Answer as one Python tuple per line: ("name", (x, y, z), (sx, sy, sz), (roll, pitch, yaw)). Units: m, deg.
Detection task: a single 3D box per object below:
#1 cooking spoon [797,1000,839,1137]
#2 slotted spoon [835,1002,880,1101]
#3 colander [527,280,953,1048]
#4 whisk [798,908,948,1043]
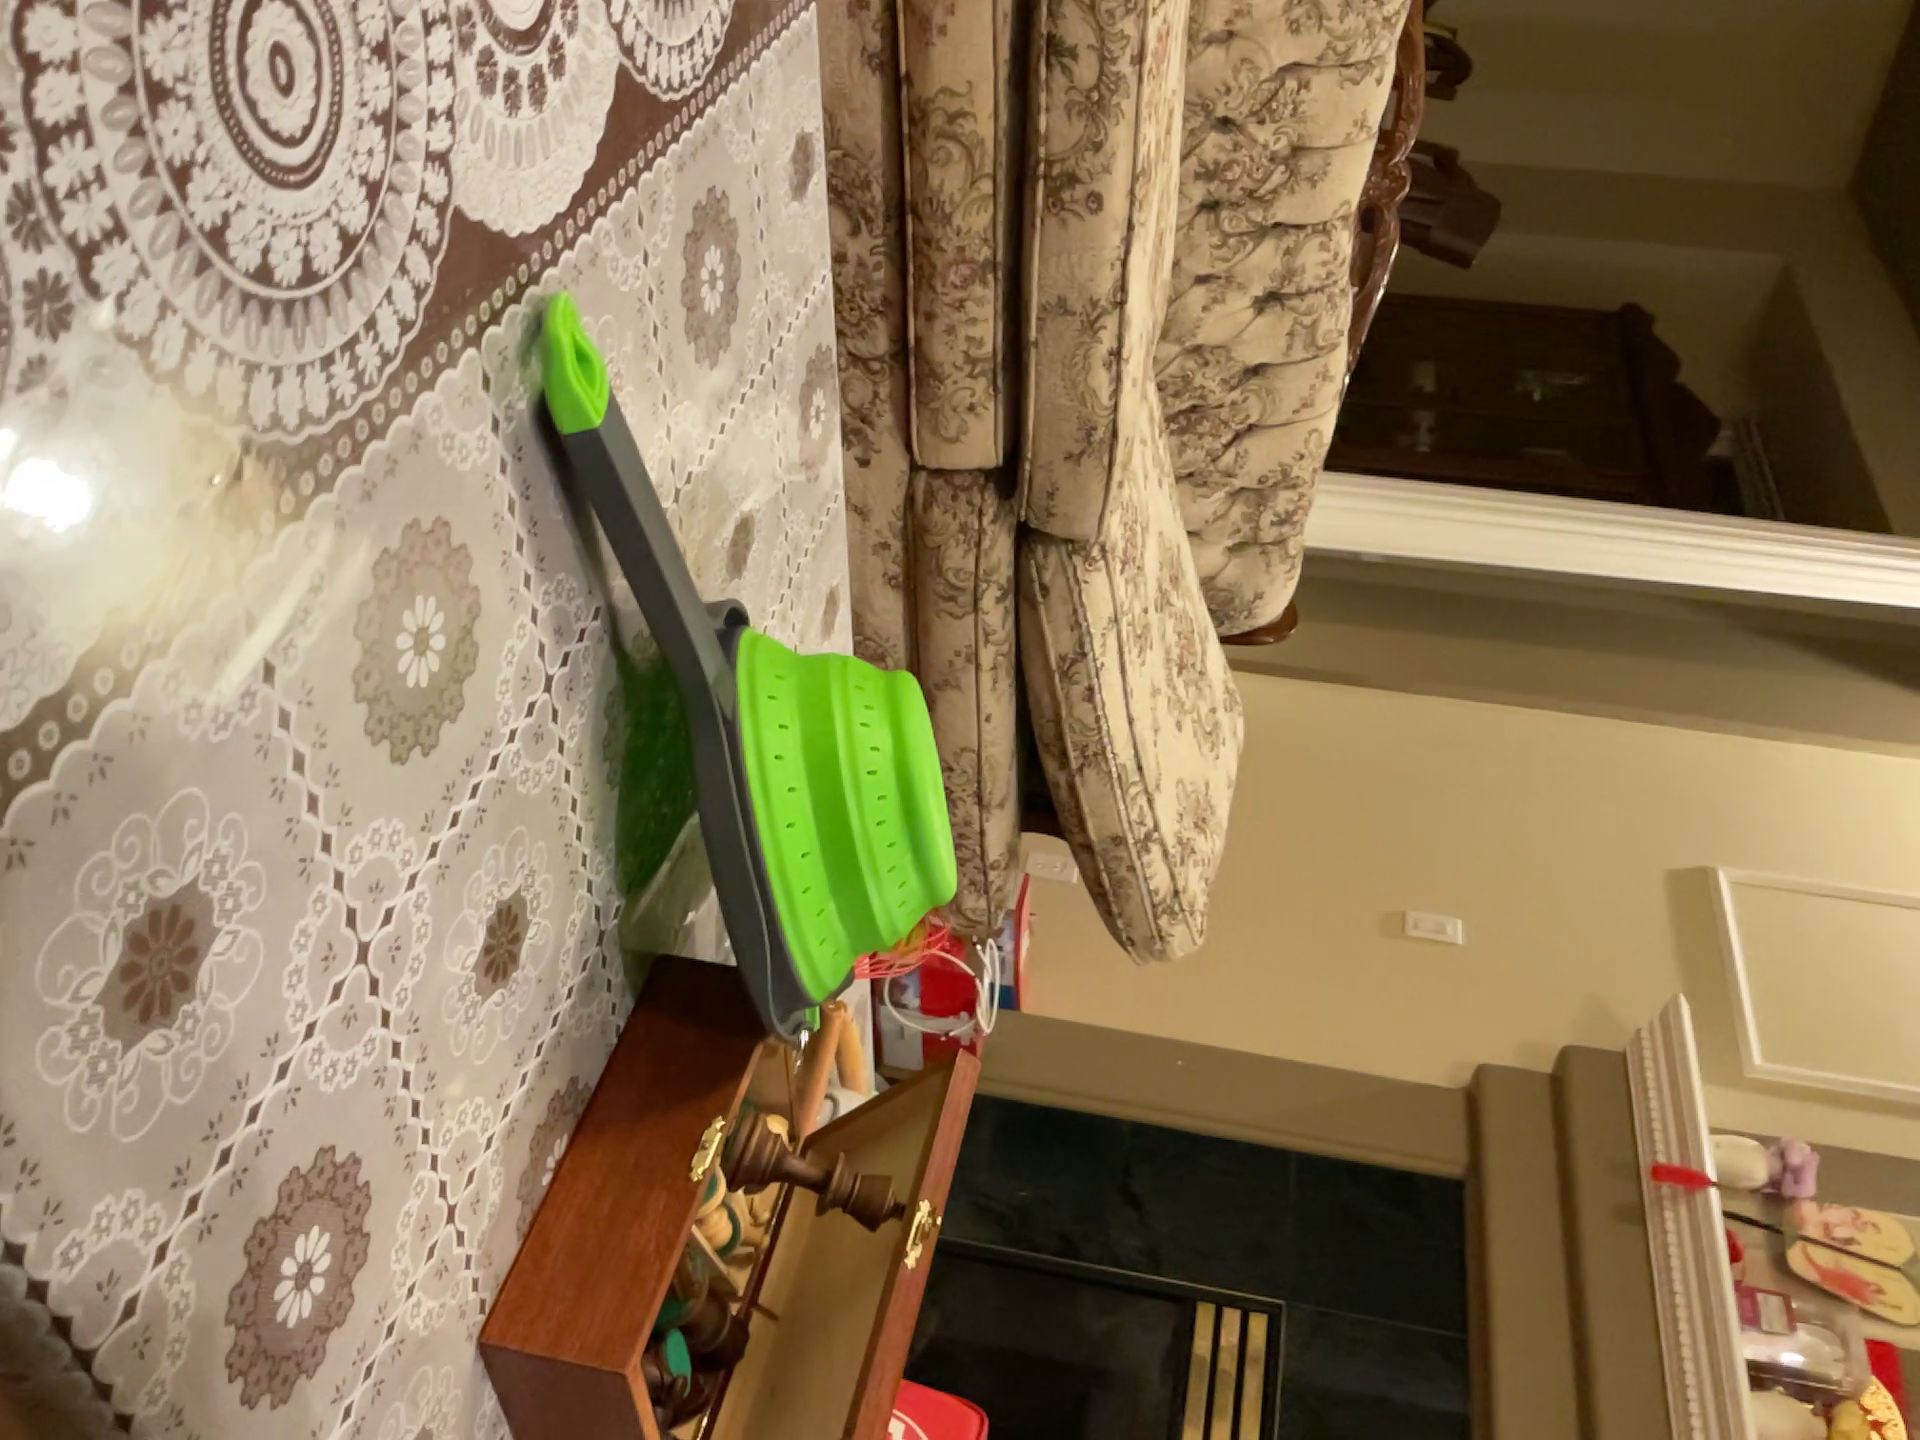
("cooking spoon", (-0.103, 0.280, 0.894), (0.069, 0.017, 0.318), (-68, 174, -60))
("slotted spoon", (-0.074, 0.262, 1.125), (0.313, 0.031, 0.070), (87, 14, -59))
("colander", (-0.070, -0.014, 0.658), (0.396, 0.094, 0.205), (76, 3, -49))
("whisk", (-0.072, 0.161, 1.043), (0.296, 0.073, 0.073), (-31, 135, -70))
